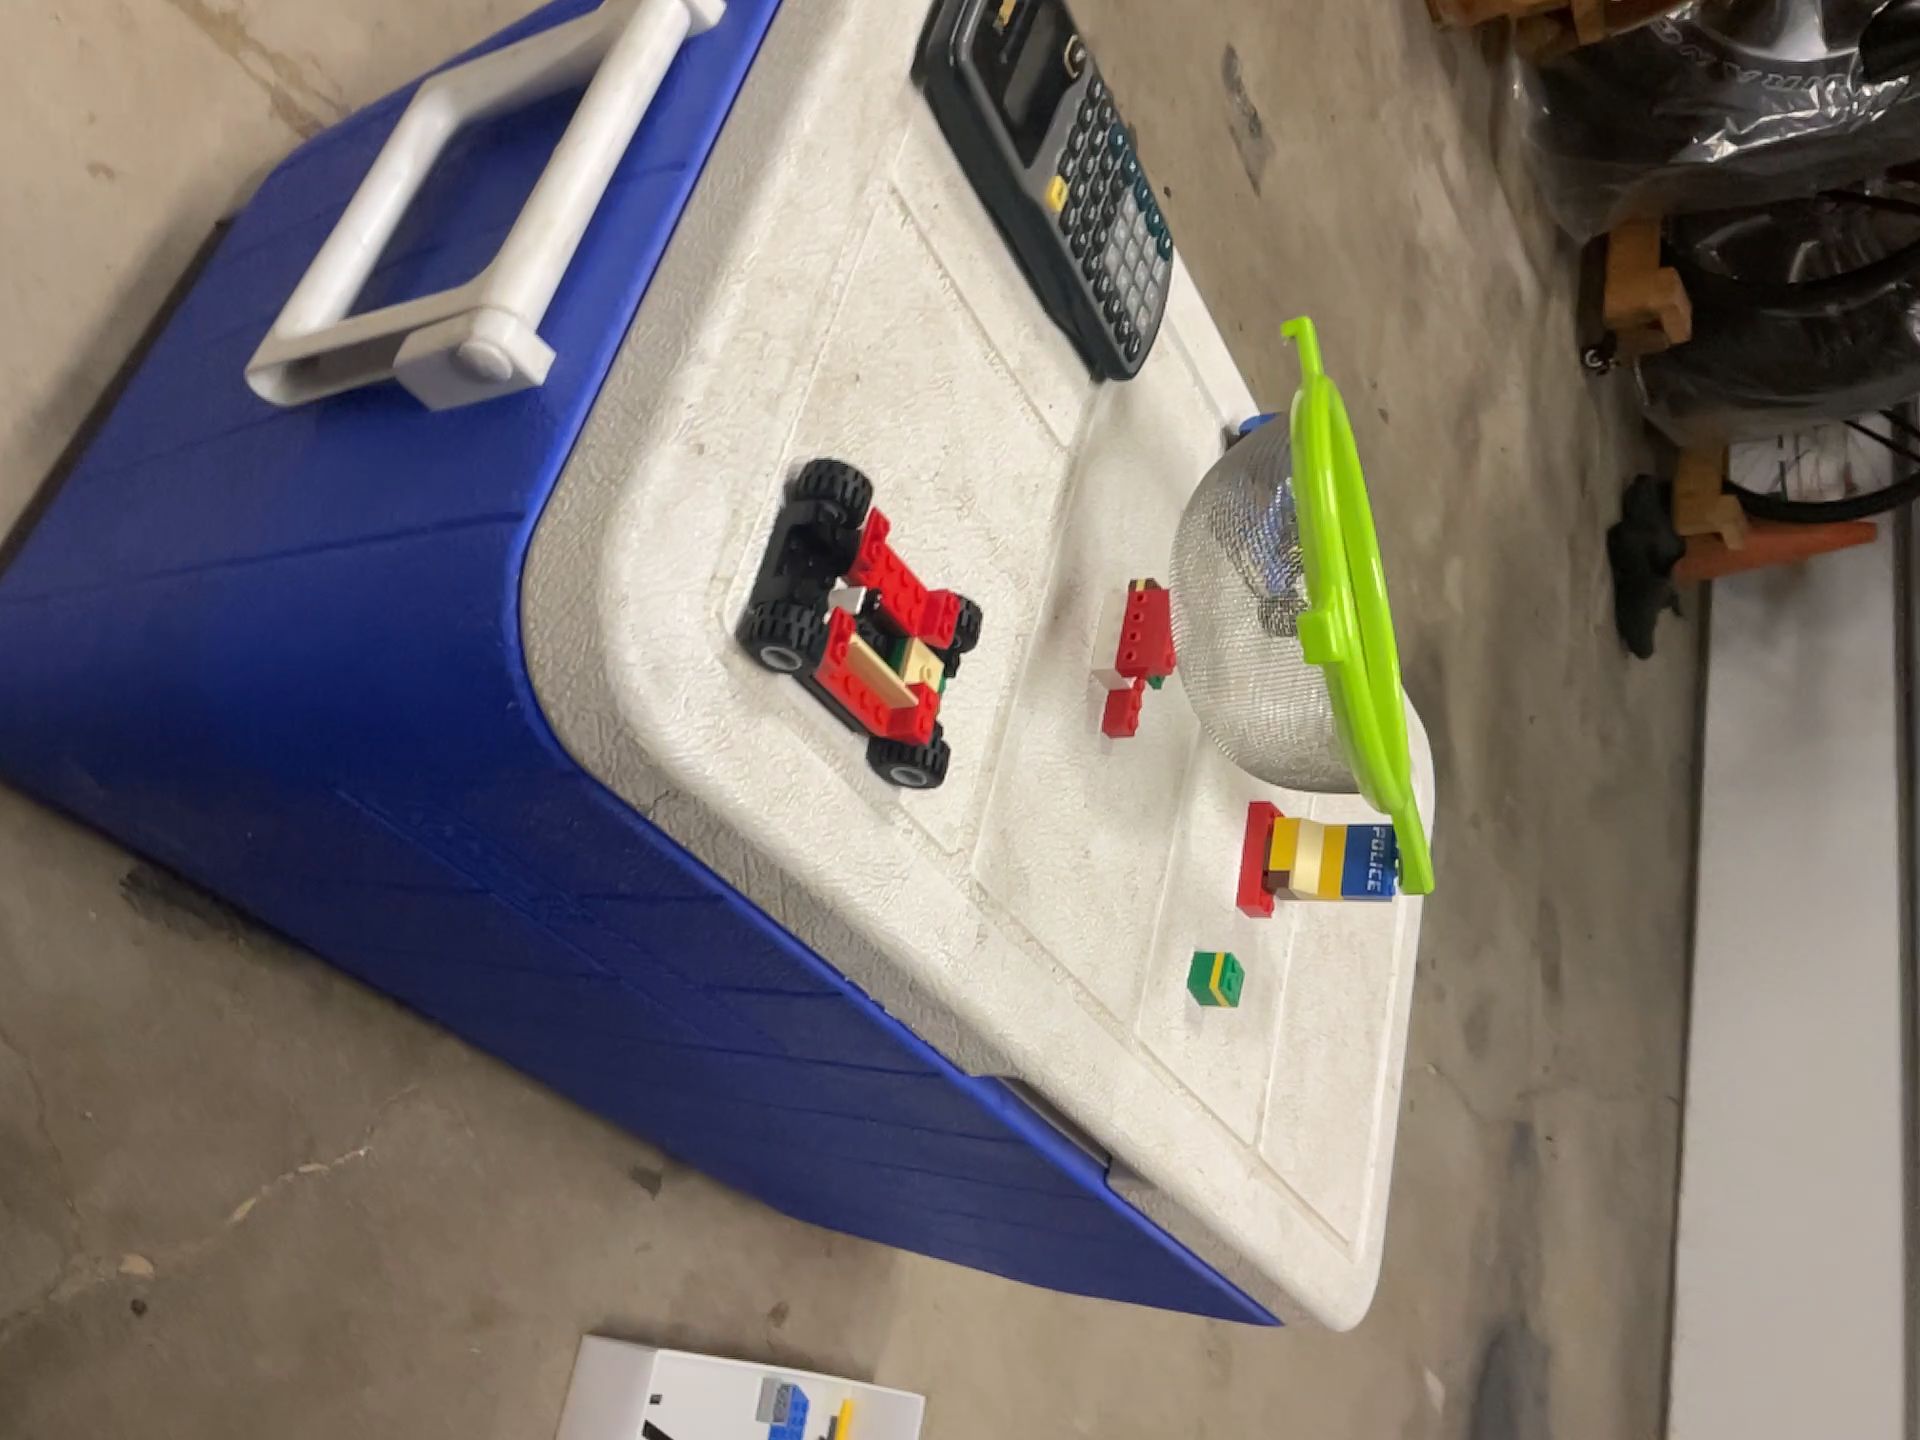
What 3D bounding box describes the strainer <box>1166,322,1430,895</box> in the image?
[{"bbox_3d":[0.127,-0.006,0.595,0.256,0.069,0.152,61,26,-46],"label":"strainer"}]
